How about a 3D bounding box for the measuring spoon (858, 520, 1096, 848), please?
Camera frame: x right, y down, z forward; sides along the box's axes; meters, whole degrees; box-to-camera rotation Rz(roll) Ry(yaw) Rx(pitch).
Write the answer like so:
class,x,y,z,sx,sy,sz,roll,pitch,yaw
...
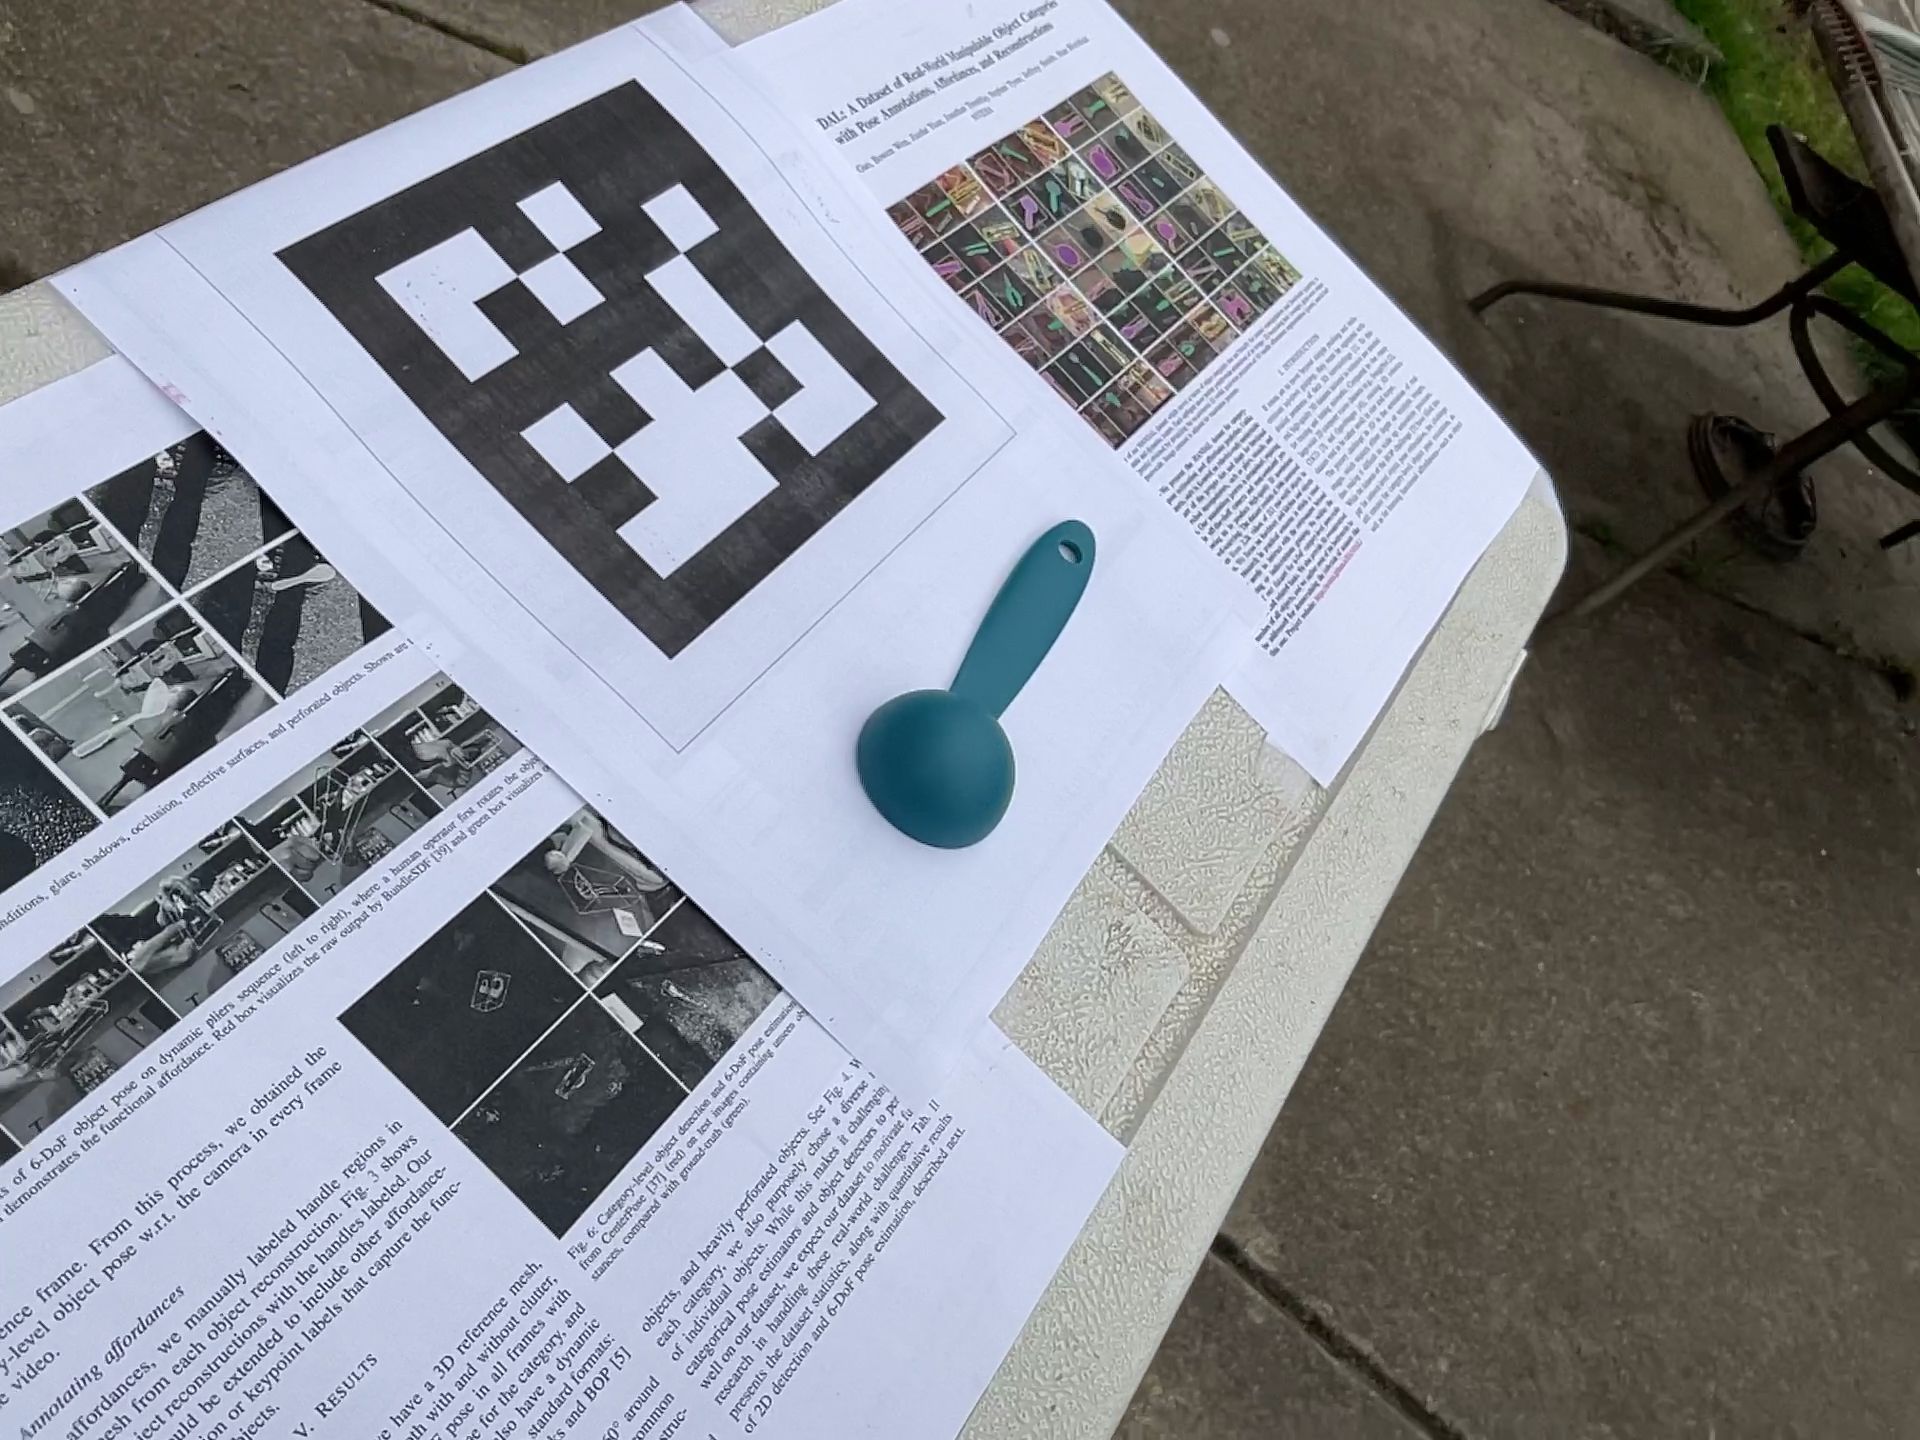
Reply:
class,x,y,z,sx,sy,sz,roll,pitch,yaw
measuring spoon,0.014,-0.020,0.425,0.042,0.021,0.129,35,49,-5
